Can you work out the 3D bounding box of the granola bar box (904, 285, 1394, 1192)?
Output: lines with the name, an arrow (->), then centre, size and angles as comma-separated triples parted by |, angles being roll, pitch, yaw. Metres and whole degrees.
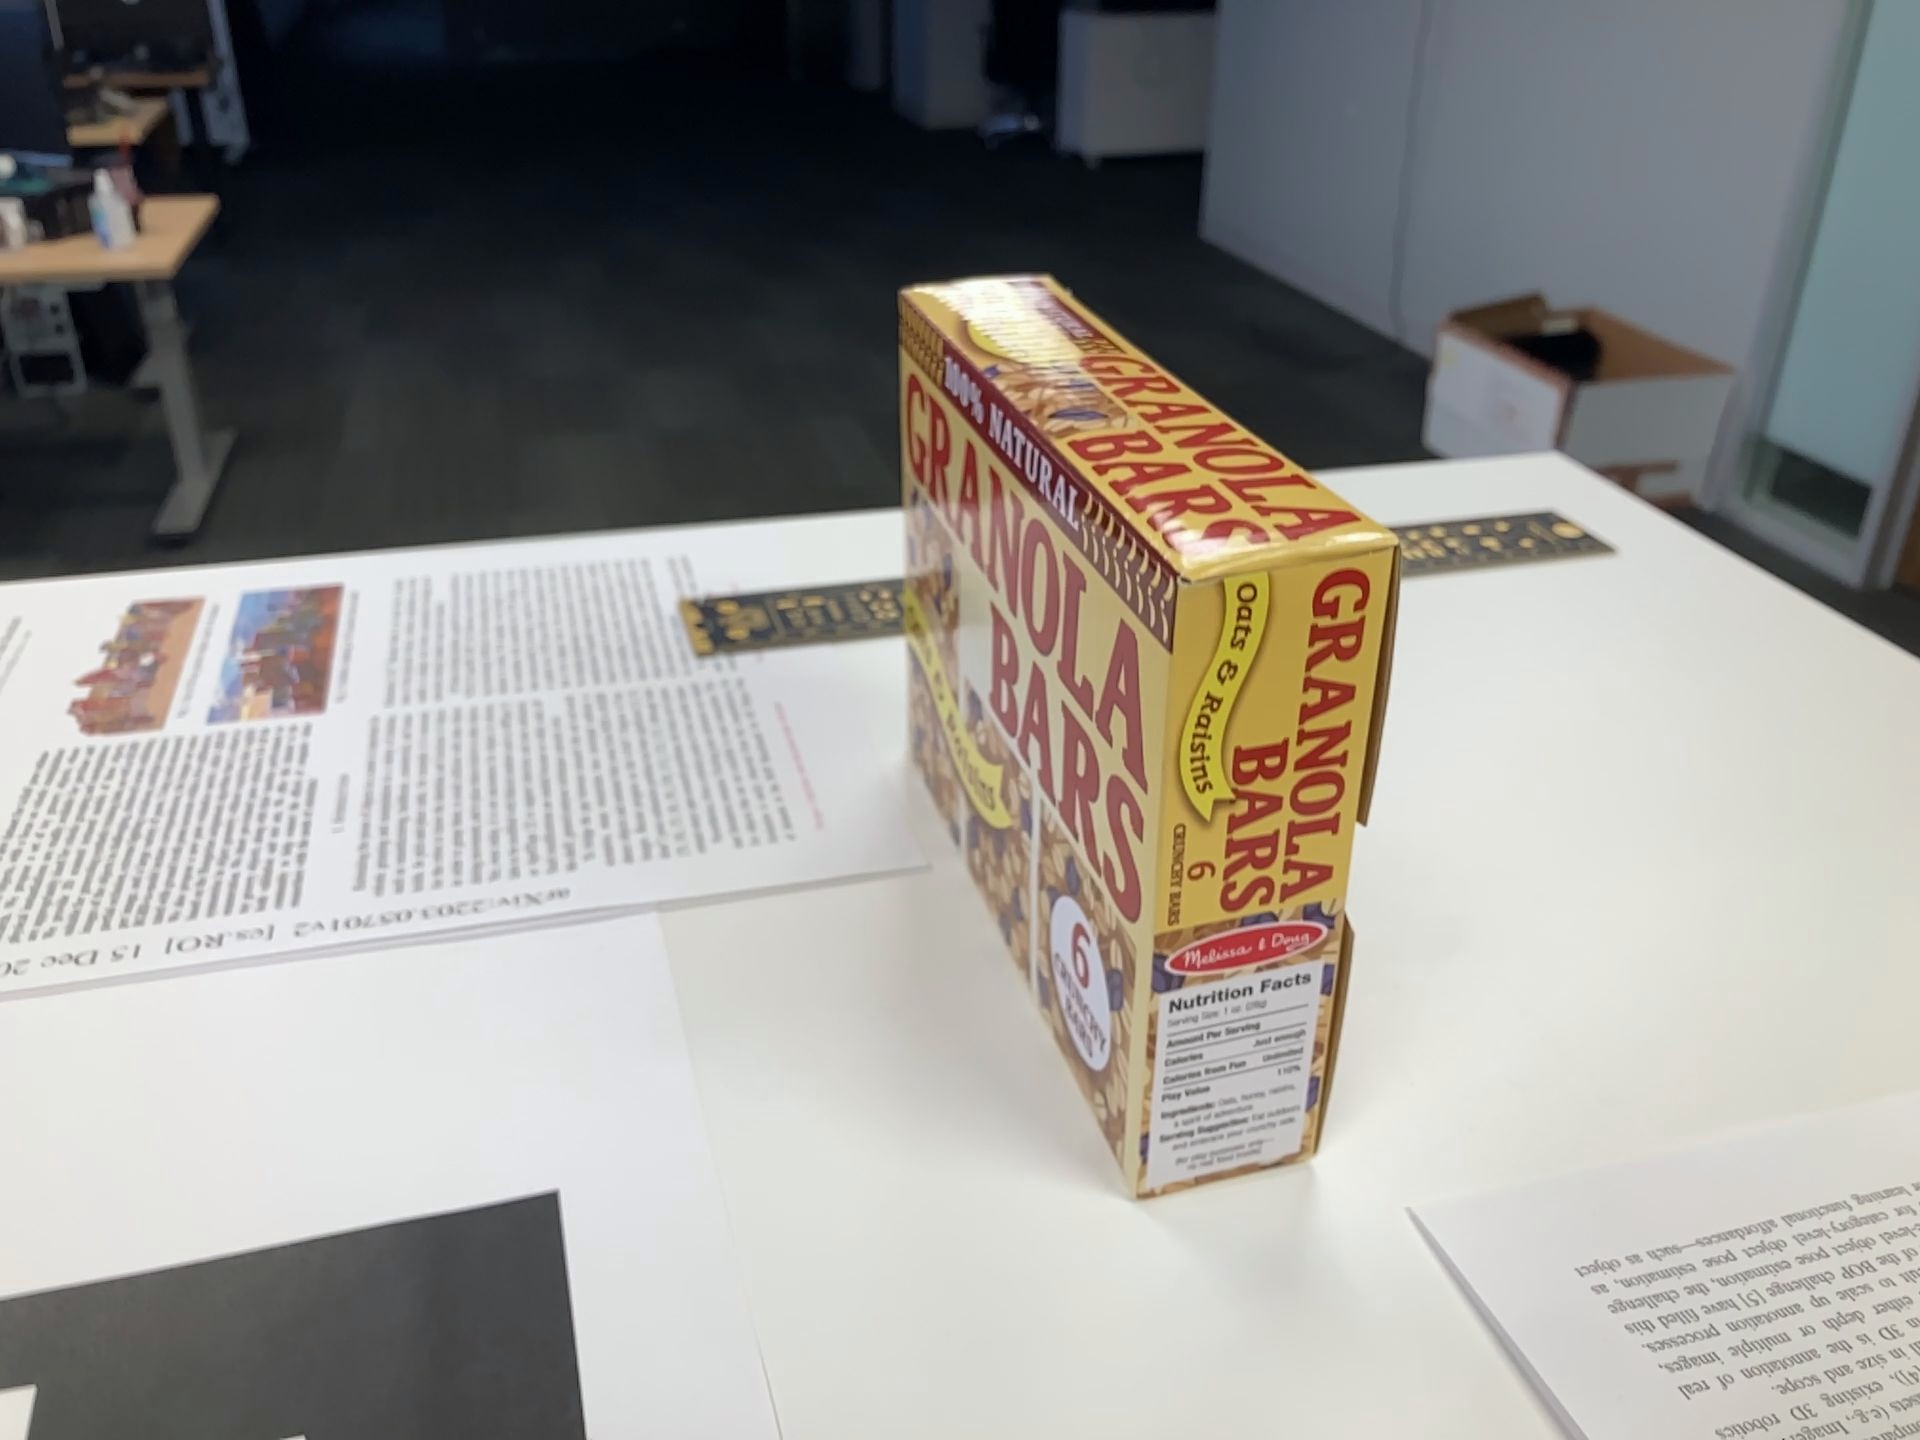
granola bar box -> 0.027, -0.009, 0.331 | 0.039, 0.124, 0.165 | -8, 30, -14
